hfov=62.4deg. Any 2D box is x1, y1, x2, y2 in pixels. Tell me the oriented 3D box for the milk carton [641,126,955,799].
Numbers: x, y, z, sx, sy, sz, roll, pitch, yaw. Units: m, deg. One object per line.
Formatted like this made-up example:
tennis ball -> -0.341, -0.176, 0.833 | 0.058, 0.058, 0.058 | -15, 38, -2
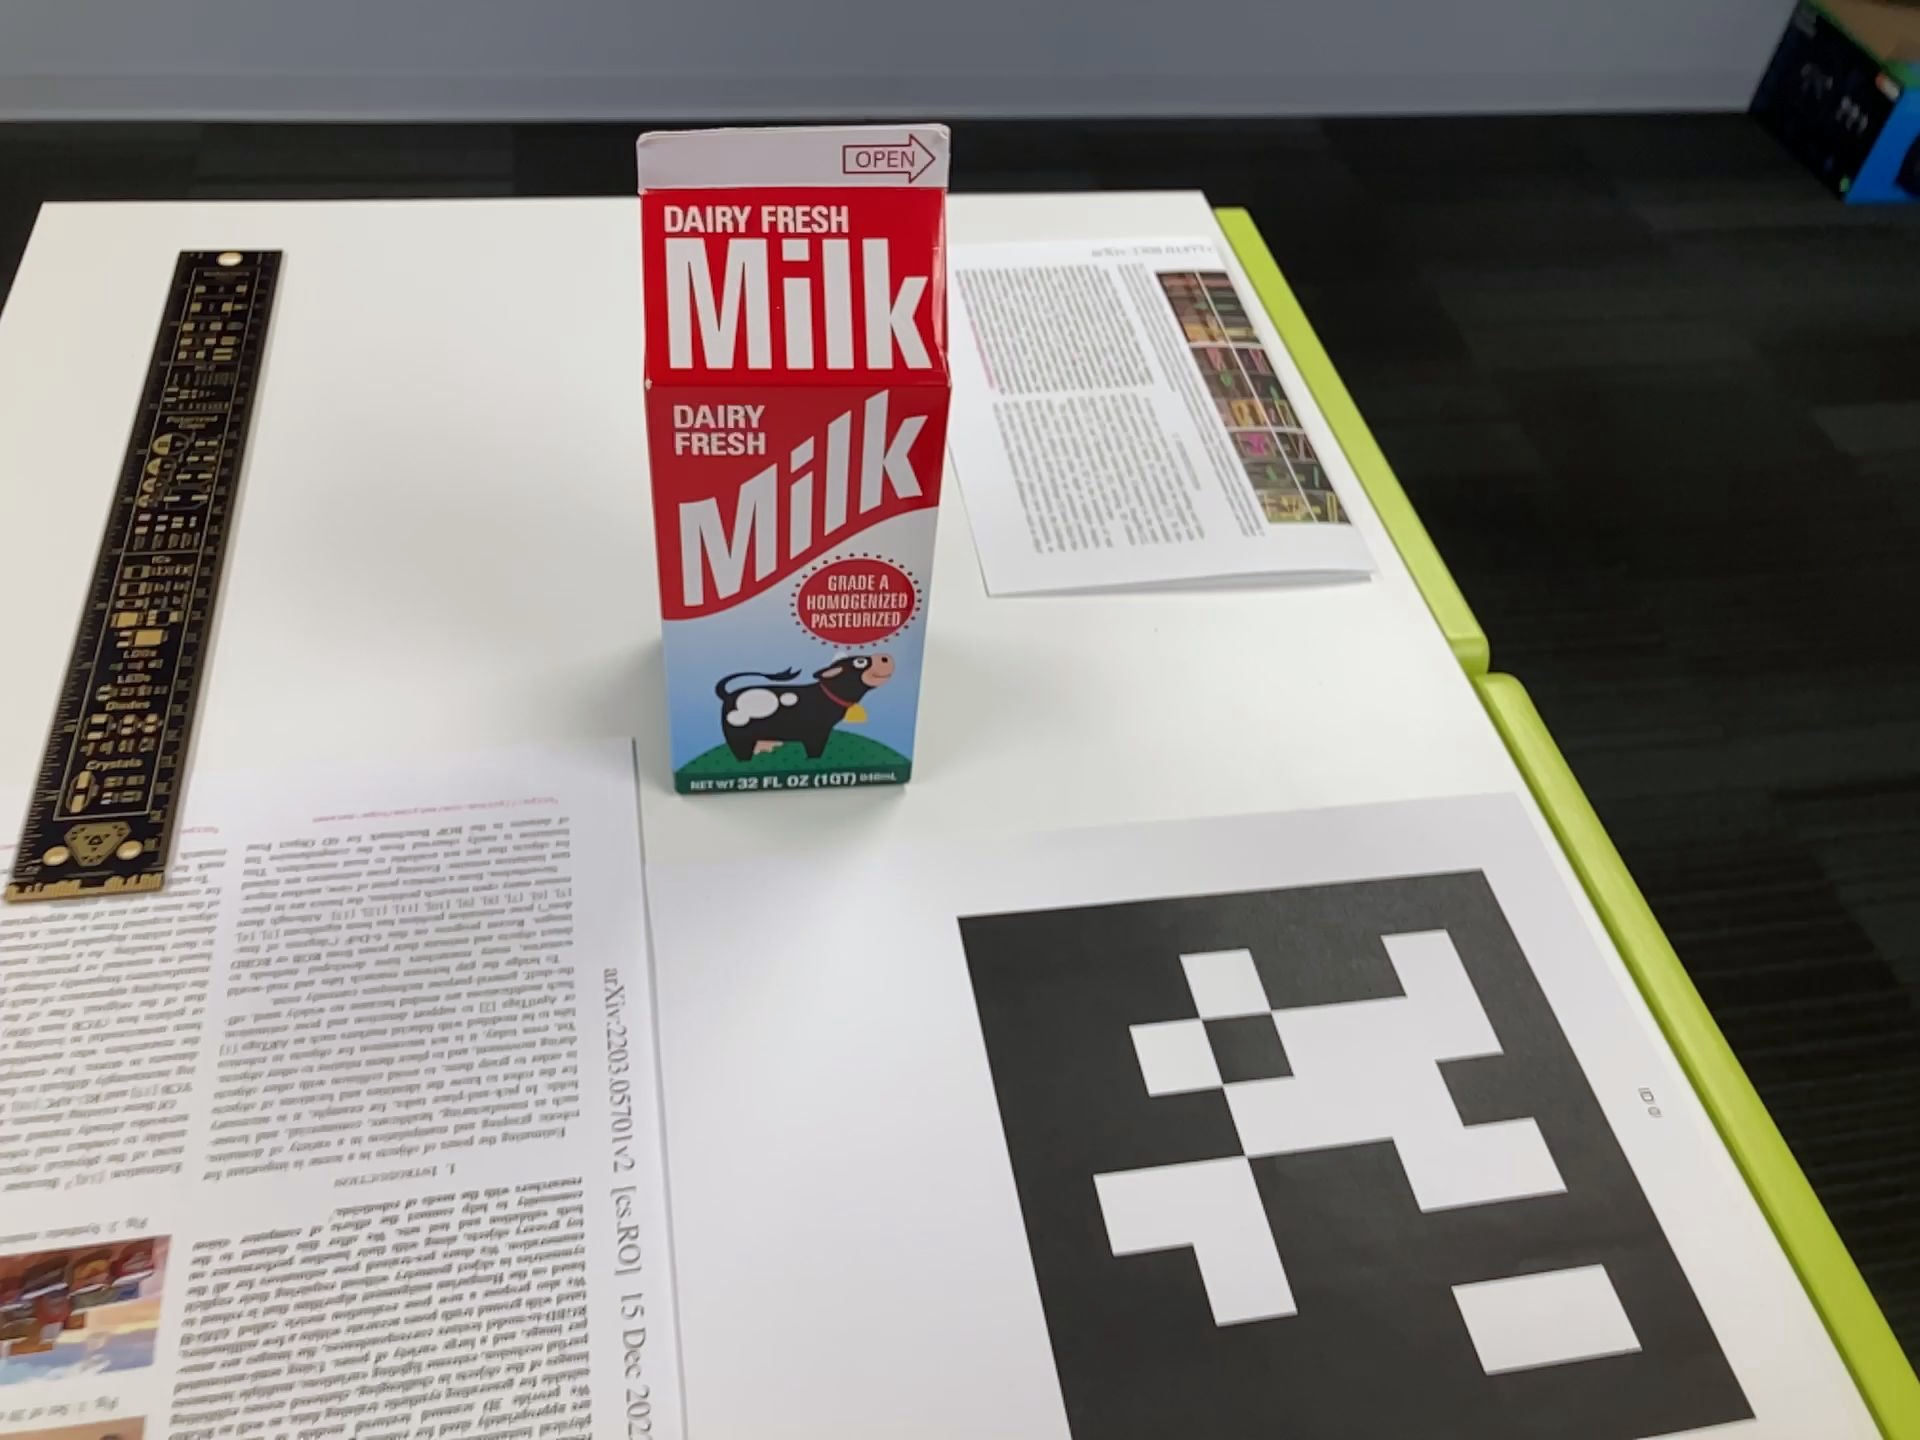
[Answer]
milk carton -> -0.045, -0.067, 0.421 | 0.072, 0.190, 0.073 | -2, 48, -8
